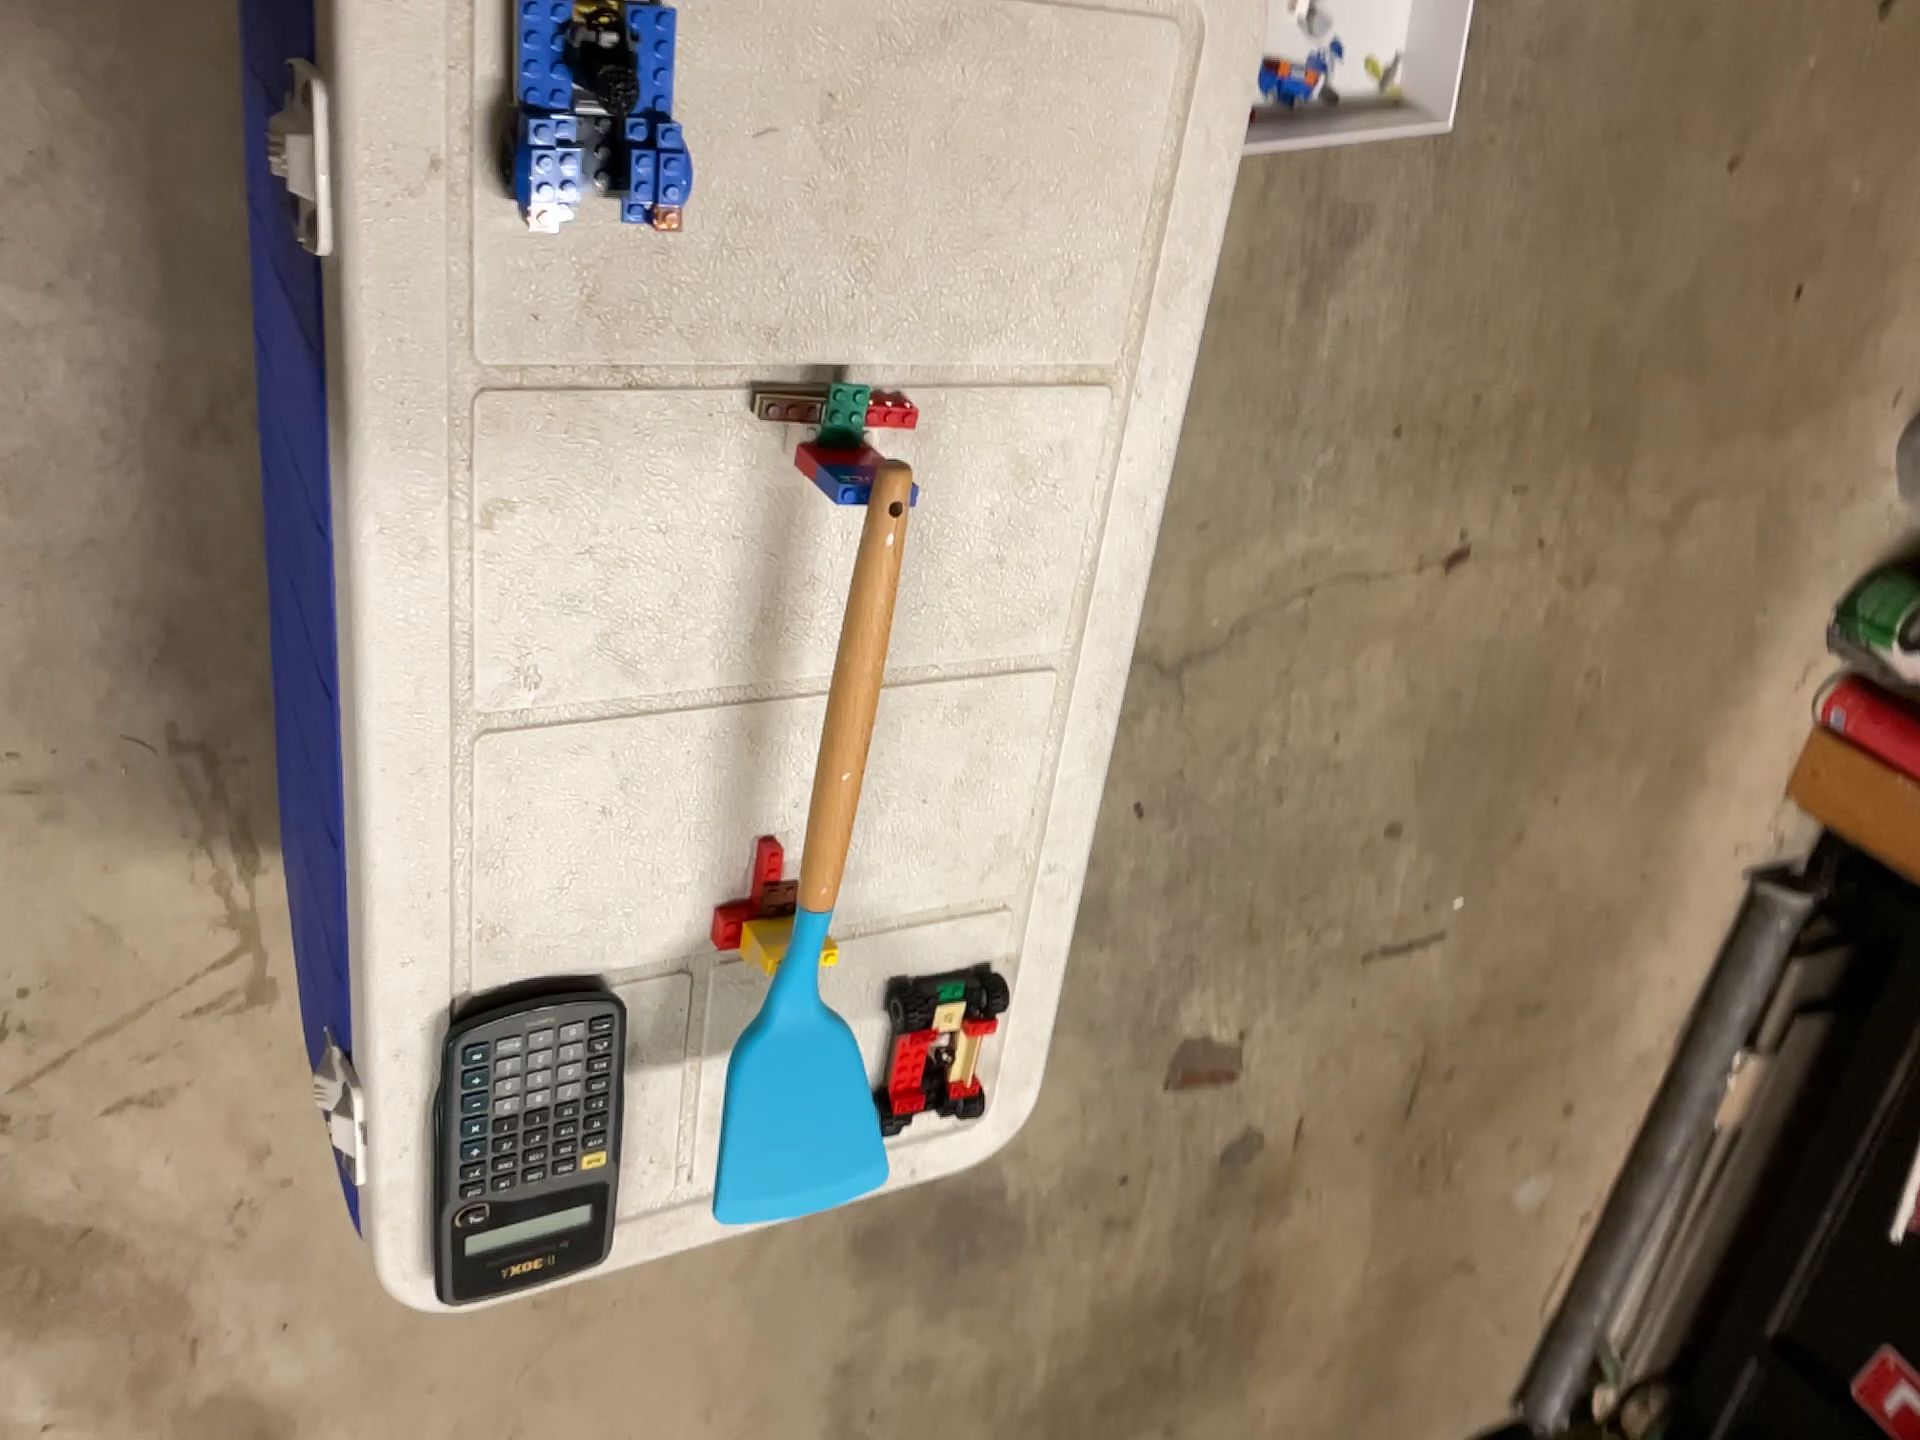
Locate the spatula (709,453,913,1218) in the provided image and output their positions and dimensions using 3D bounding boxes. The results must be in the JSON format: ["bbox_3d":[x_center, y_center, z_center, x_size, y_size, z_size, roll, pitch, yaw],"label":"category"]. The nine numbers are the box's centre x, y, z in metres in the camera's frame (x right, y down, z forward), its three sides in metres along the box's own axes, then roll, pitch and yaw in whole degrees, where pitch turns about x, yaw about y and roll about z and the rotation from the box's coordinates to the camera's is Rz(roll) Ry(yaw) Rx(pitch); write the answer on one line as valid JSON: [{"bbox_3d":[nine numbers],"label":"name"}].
[{"bbox_3d":[-0.046,0.053,0.613,0.082,0.044,0.317,-3,120,-28],"label":"spatula"}]
